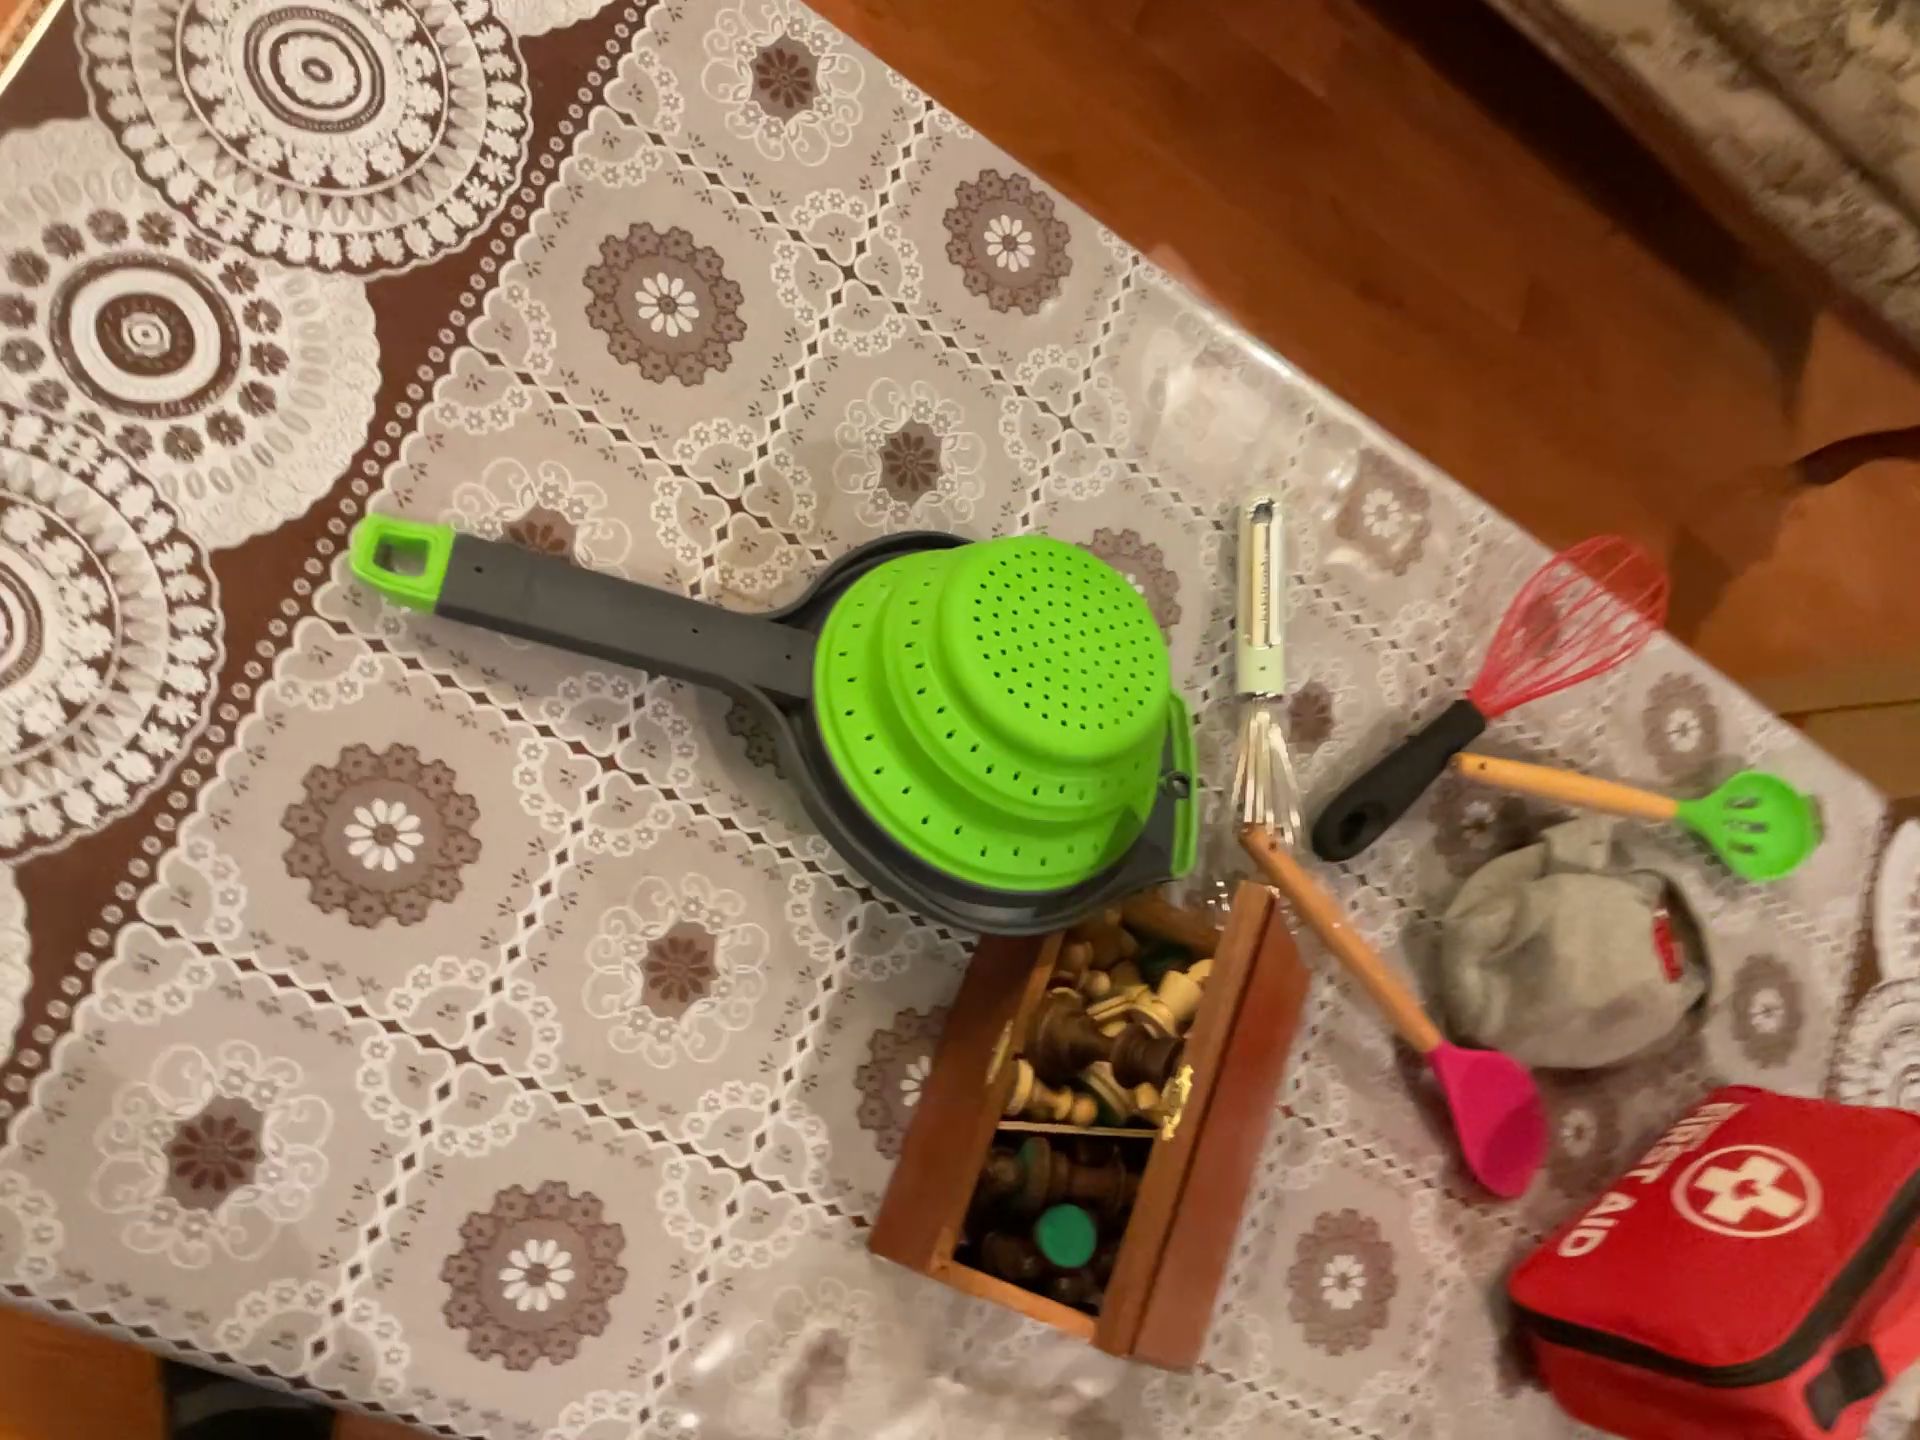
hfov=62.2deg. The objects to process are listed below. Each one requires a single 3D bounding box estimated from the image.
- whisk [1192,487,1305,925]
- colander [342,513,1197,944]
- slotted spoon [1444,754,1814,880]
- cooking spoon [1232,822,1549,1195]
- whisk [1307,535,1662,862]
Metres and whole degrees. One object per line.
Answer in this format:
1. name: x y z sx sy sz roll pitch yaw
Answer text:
1. whisk: 0.154 -0.005 0.837 0.057 0.059 0.246 29 62 -67
2. colander: -0.051 -0.034 0.674 0.397 0.094 0.205 16 57 -19
3. slotted spoon: 0.405 0.048 0.955 0.313 0.031 0.070 10 80 -29
4. cooking spoon: 0.233 0.154 0.838 0.318 0.017 0.069 46 64 -28
5. whisk: 0.302 -0.013 0.906 0.296 0.073 0.073 -38 108 -20
